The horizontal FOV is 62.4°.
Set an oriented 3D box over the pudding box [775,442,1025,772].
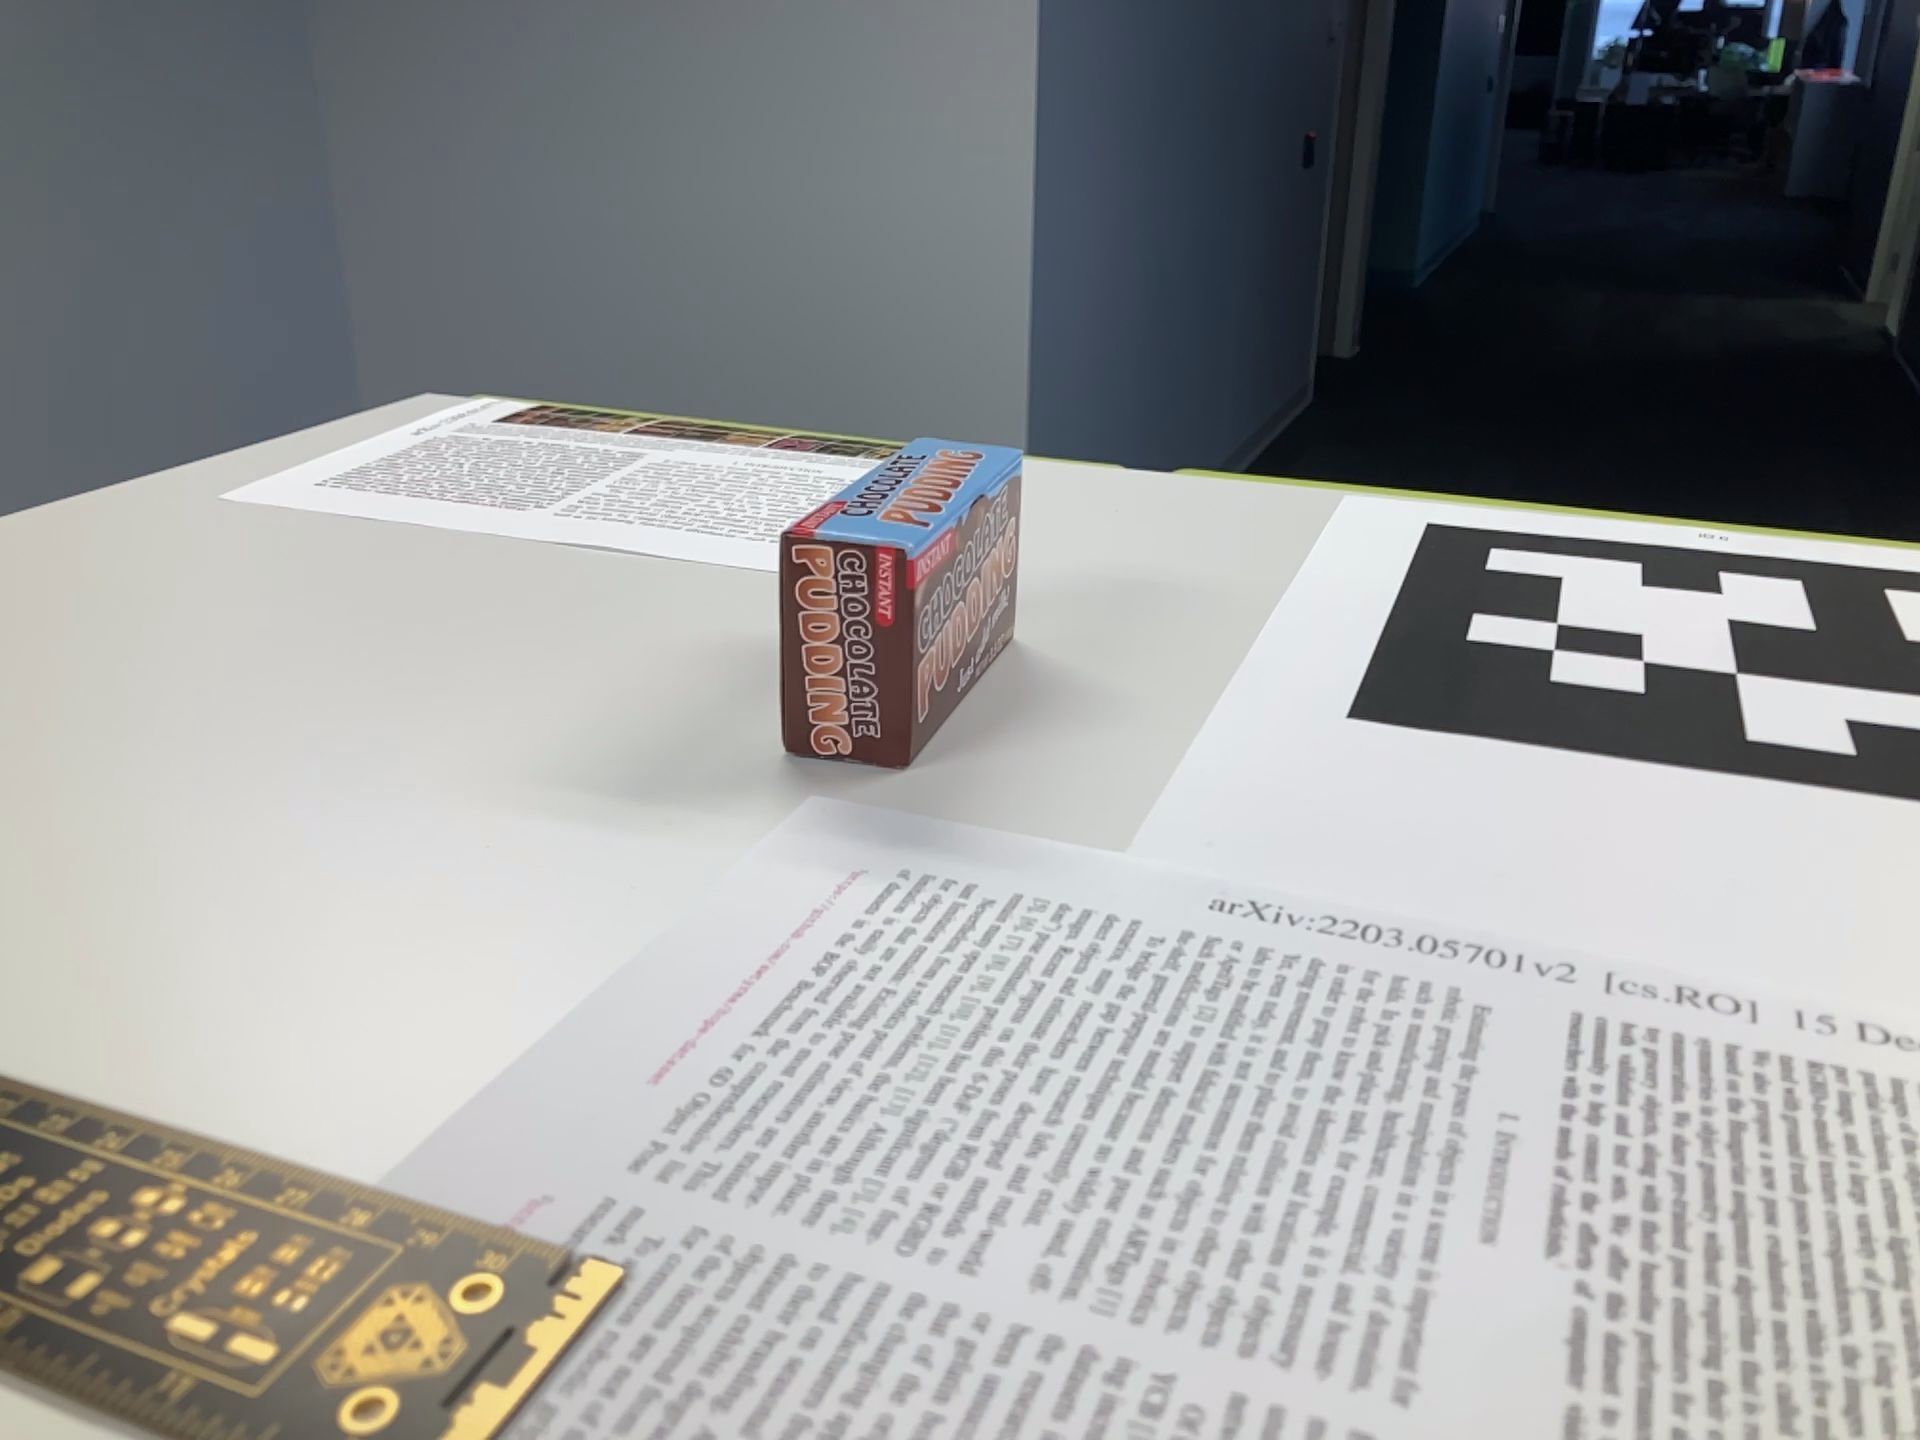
[{"bbox_3d":[-0.012,-0.028,0.349,0.030,0.049,0.083,9,24,15],"label":"pudding box"}]
